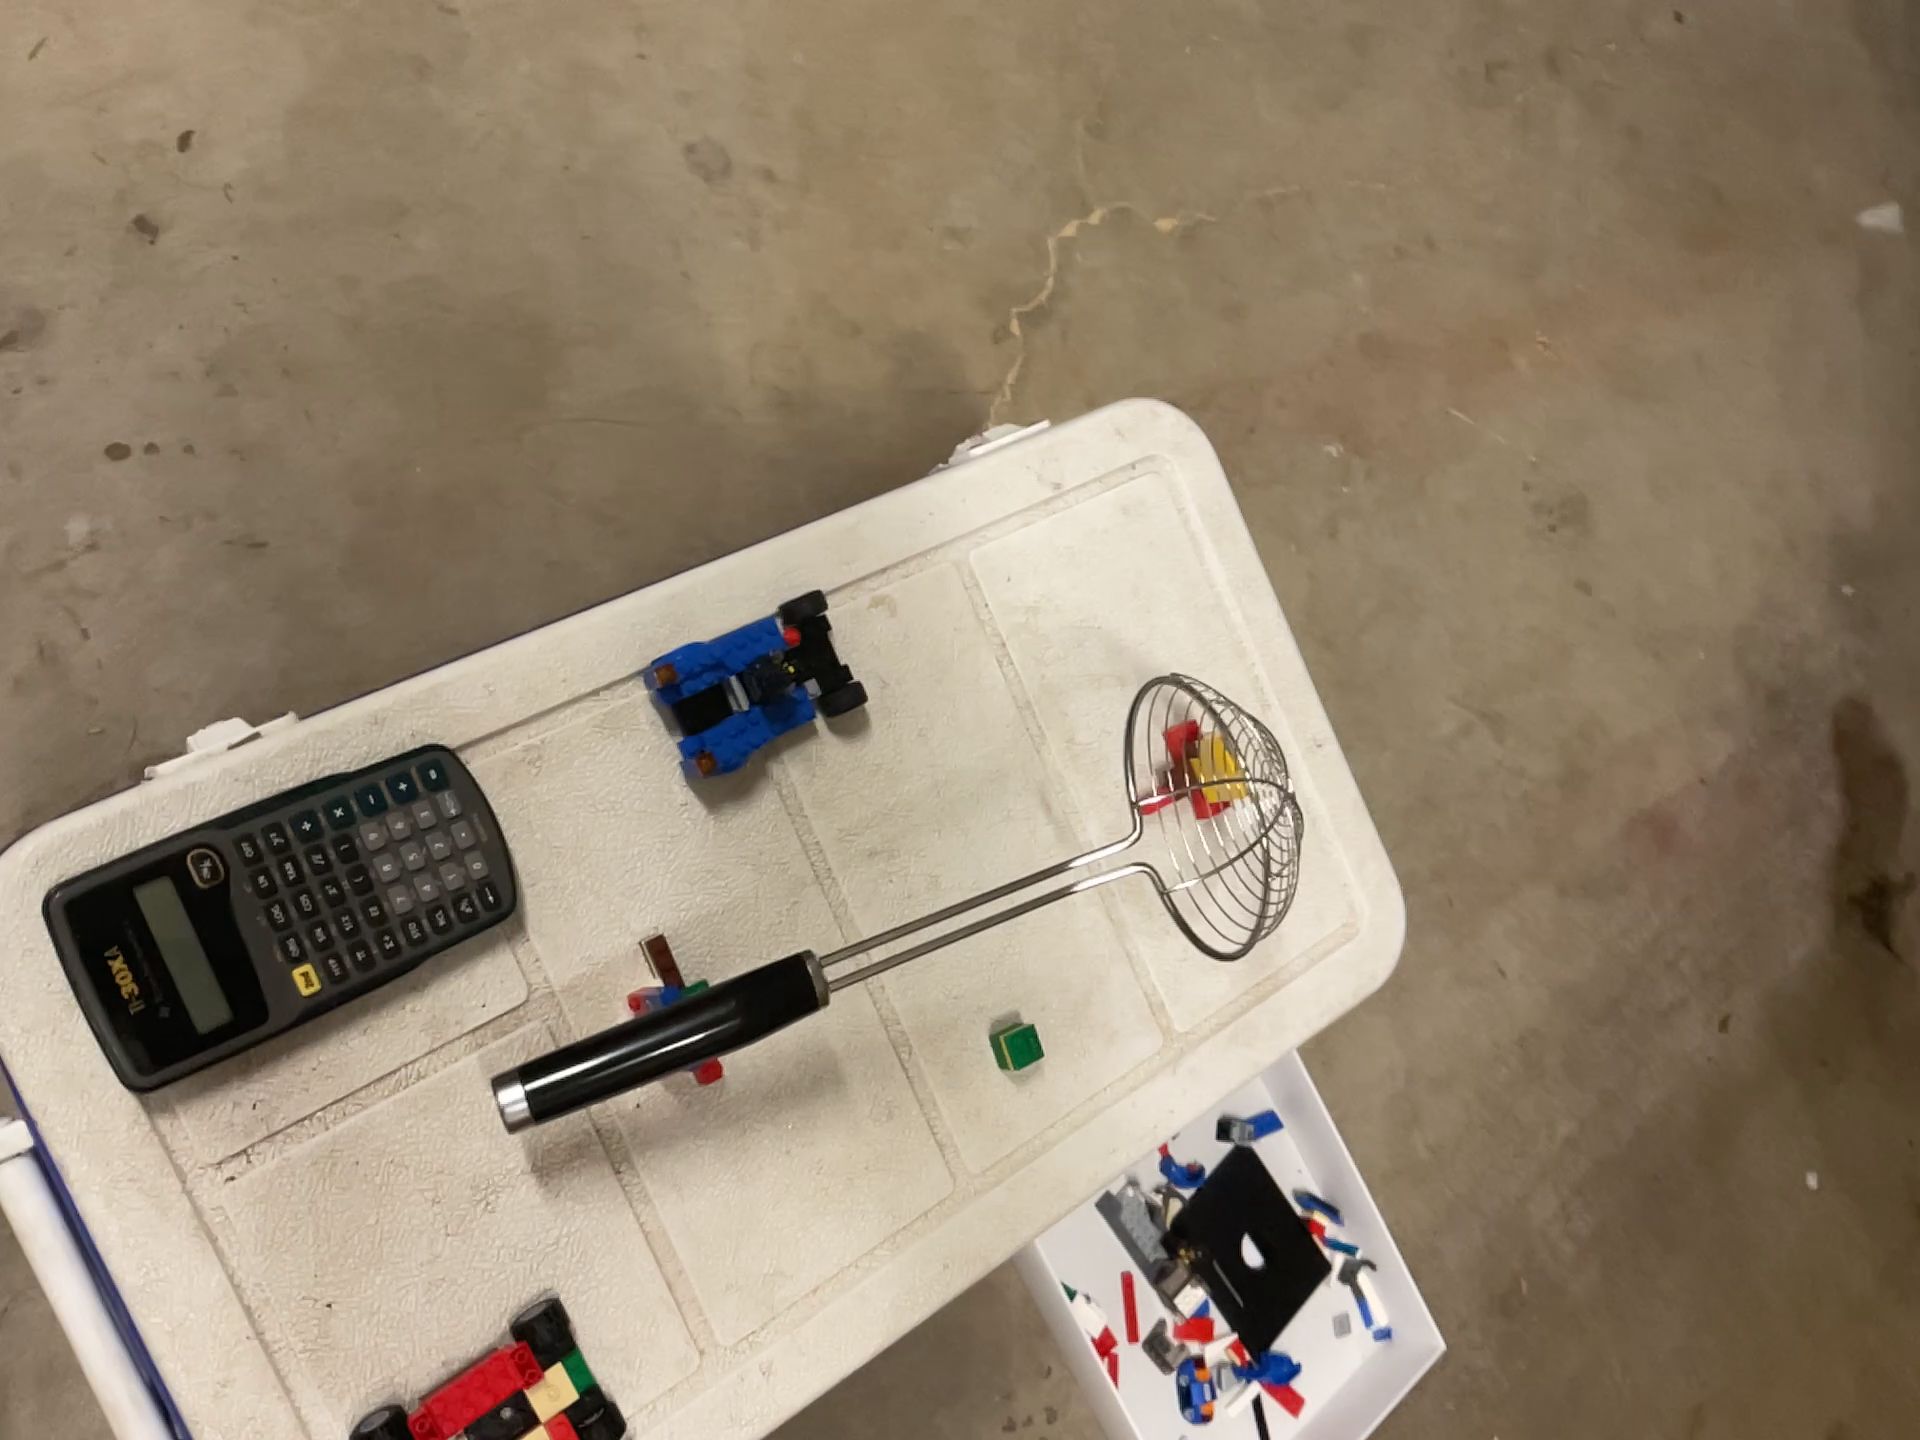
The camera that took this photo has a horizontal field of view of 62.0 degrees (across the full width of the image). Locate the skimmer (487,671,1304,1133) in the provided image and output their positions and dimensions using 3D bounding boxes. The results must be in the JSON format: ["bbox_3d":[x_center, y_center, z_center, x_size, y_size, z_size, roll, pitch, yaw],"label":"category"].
[{"bbox_3d":[-0.011,0.082,0.650,0.363,0.090,0.127,-19,92,-19],"label":"skimmer"}]
